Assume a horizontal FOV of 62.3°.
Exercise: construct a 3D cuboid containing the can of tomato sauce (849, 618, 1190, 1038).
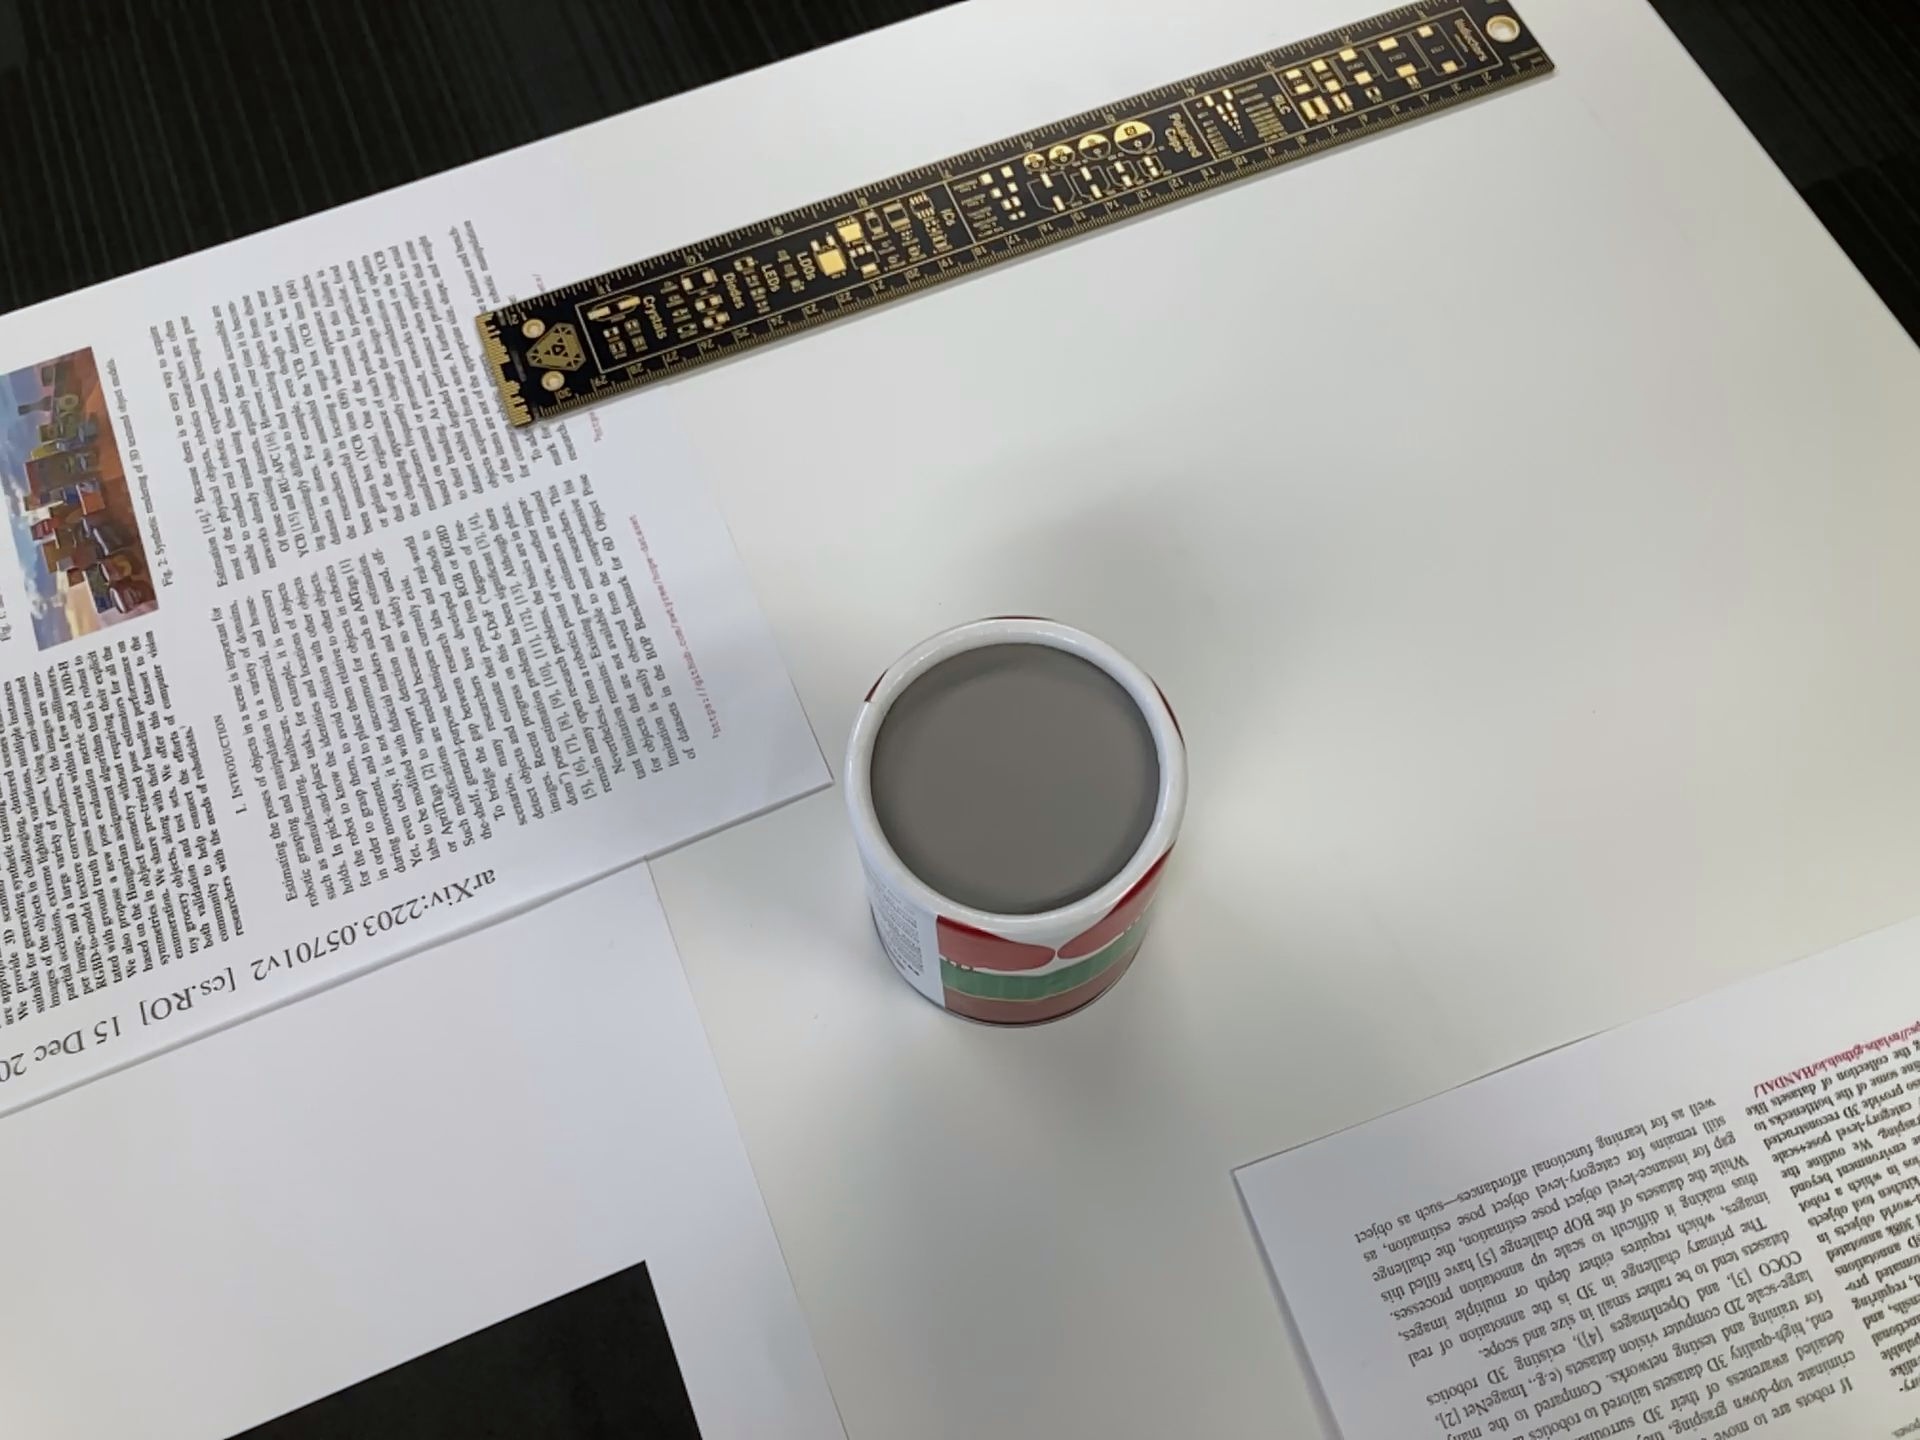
[{"bbox_3d":[0.014,0.025,0.340,0.071,0.083,0.071,0,66,1],"label":"can of tomato sauce"}]
